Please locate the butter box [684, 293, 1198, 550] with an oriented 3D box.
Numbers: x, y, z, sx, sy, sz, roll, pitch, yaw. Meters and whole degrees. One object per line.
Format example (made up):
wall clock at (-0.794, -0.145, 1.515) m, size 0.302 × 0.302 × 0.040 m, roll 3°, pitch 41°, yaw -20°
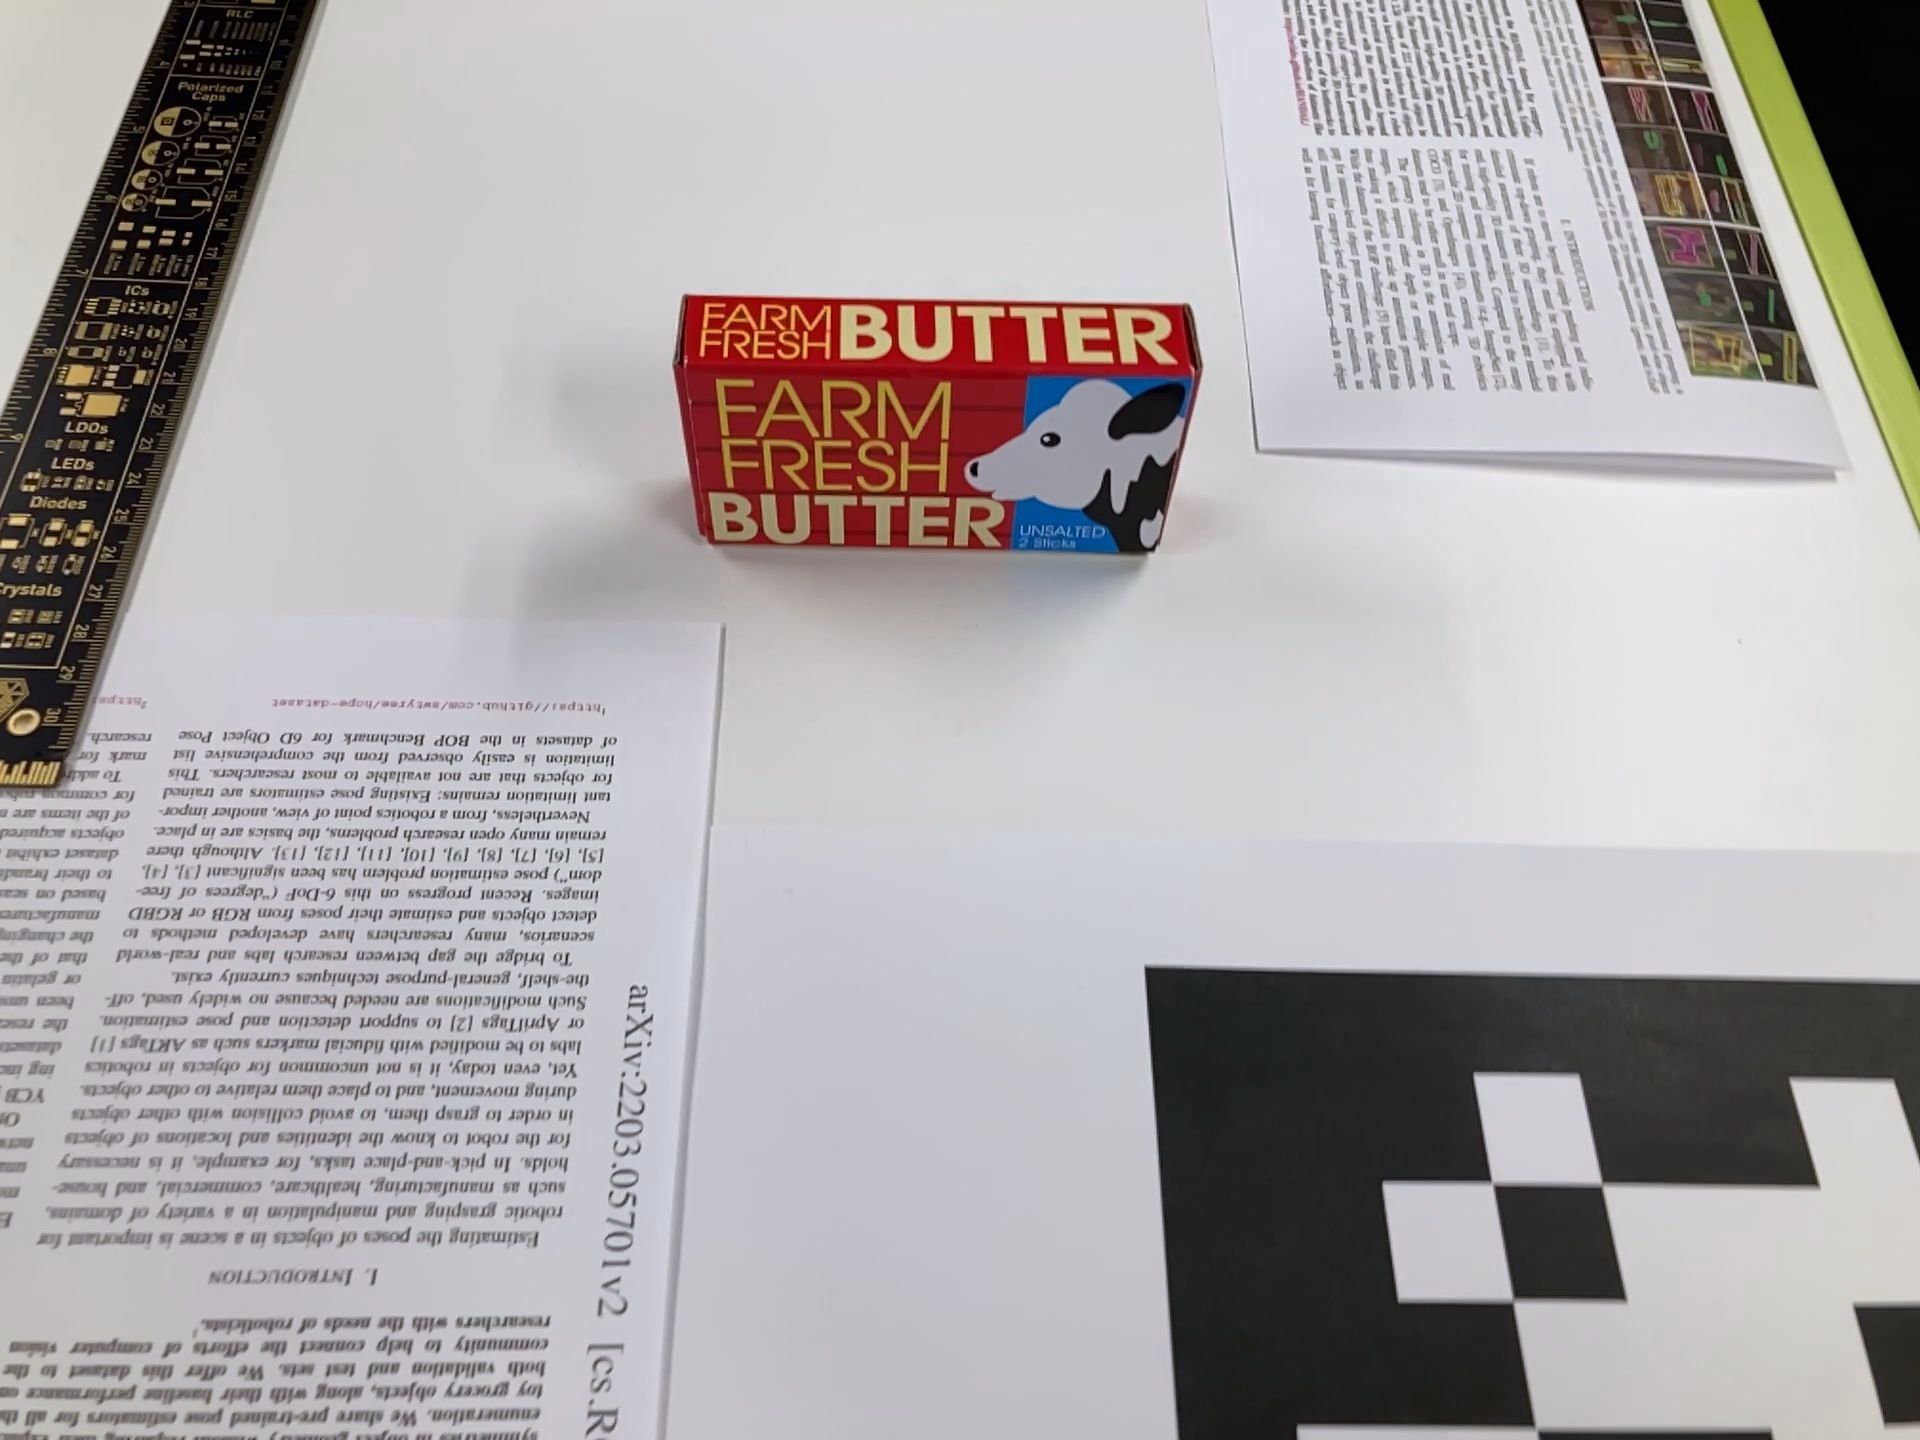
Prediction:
butter box at (-0.005, -0.063, 0.339) m, size 0.103 × 0.053 × 0.024 m, roll 1°, pitch 54°, yaw -3°
